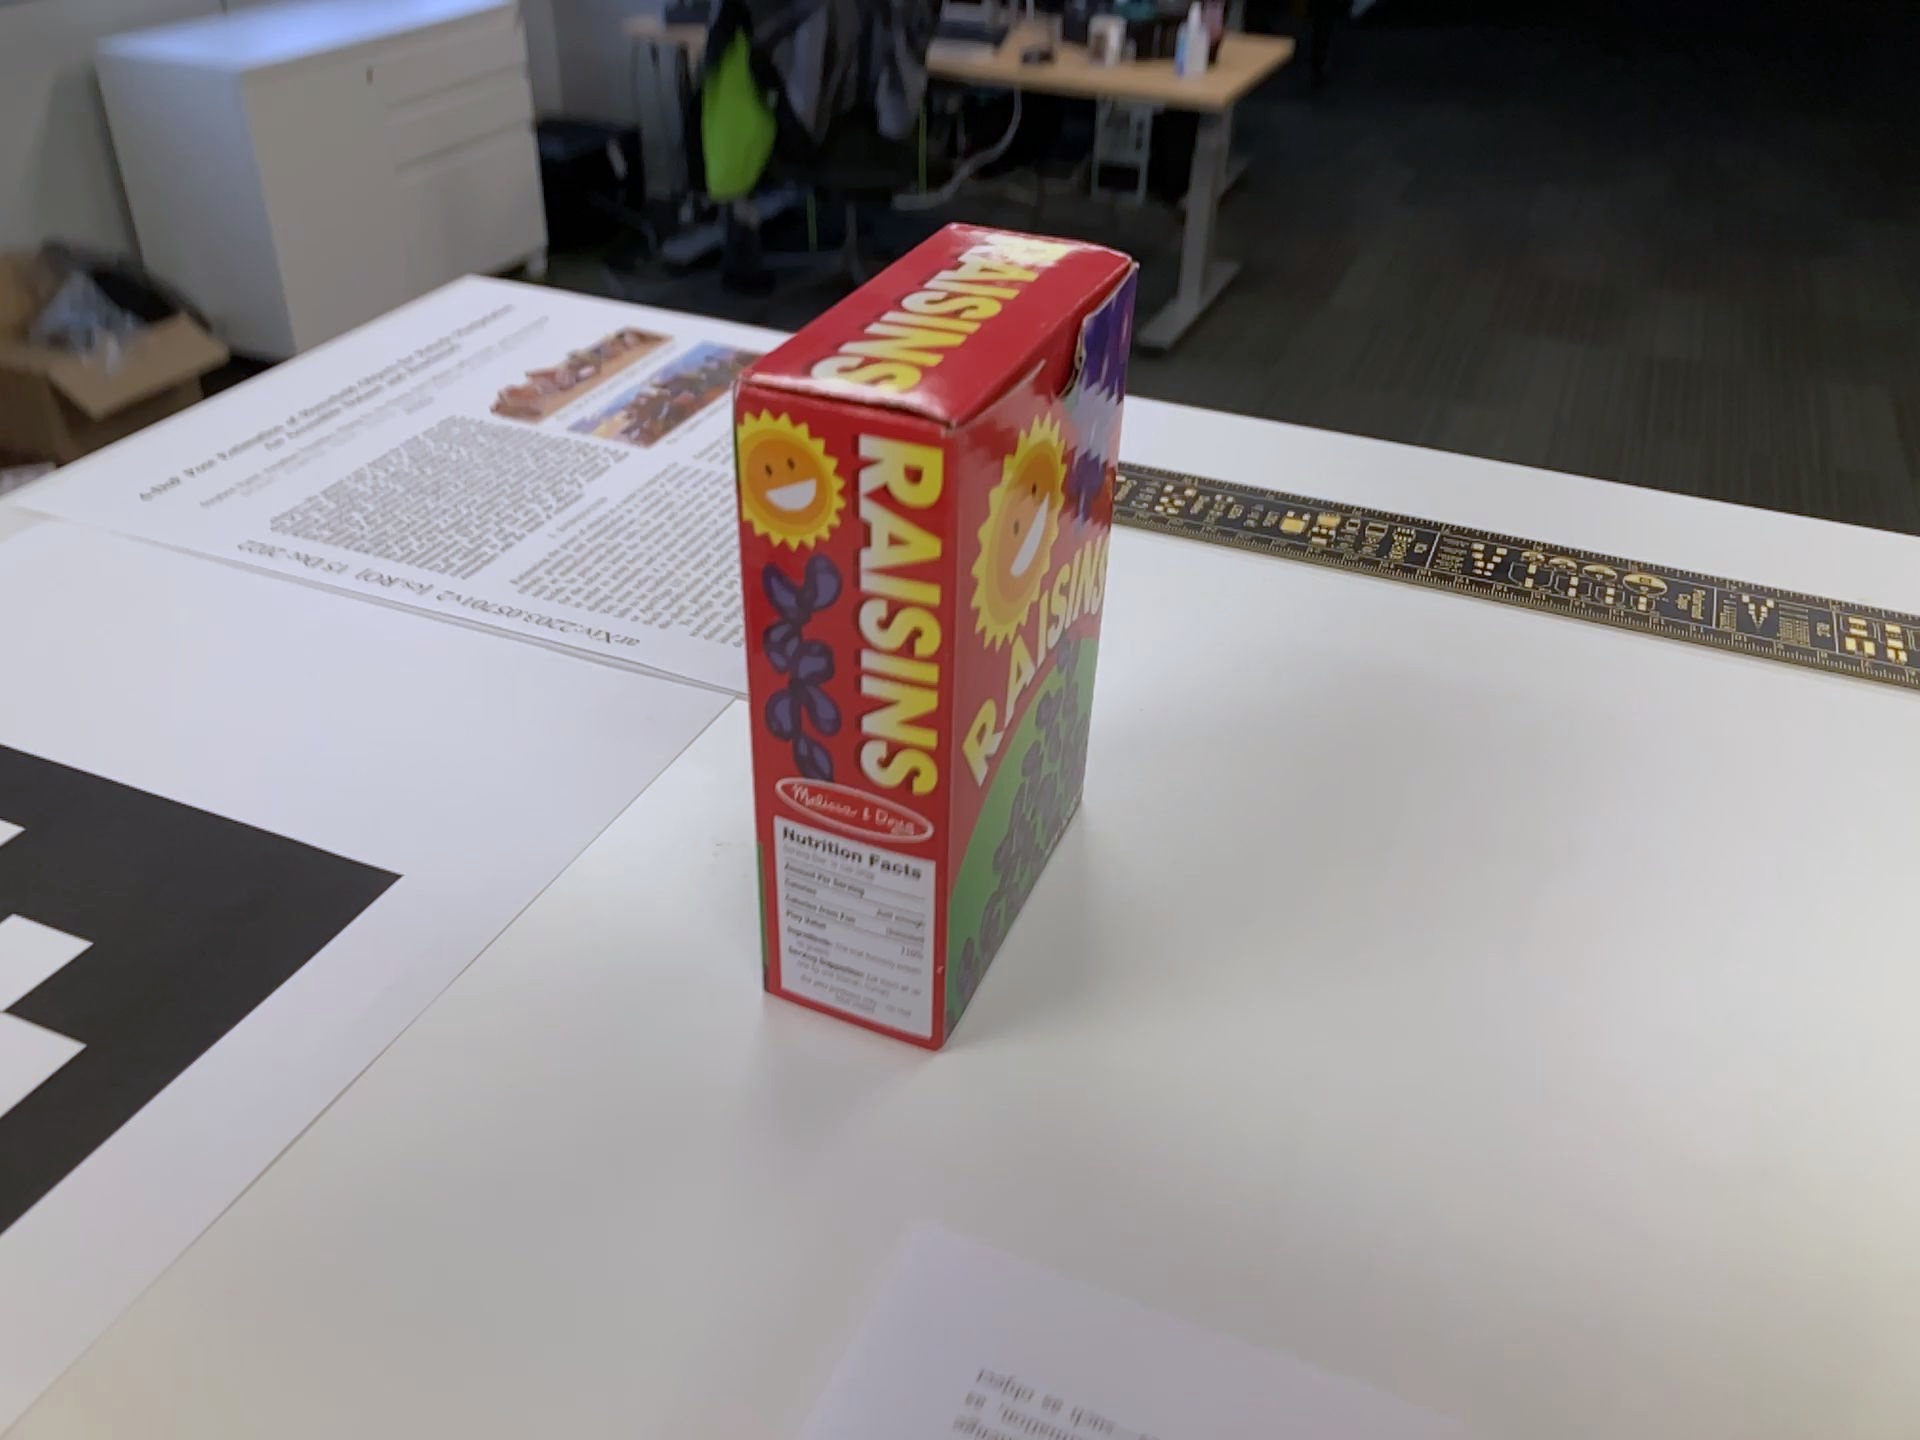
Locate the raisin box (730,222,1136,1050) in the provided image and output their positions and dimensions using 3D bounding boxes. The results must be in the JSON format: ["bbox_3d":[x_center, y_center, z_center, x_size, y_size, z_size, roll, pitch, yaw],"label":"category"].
[{"bbox_3d":[-0.003,-0.016,0.288,0.040,0.123,0.086,15,36,18],"label":"raisin box"}]
